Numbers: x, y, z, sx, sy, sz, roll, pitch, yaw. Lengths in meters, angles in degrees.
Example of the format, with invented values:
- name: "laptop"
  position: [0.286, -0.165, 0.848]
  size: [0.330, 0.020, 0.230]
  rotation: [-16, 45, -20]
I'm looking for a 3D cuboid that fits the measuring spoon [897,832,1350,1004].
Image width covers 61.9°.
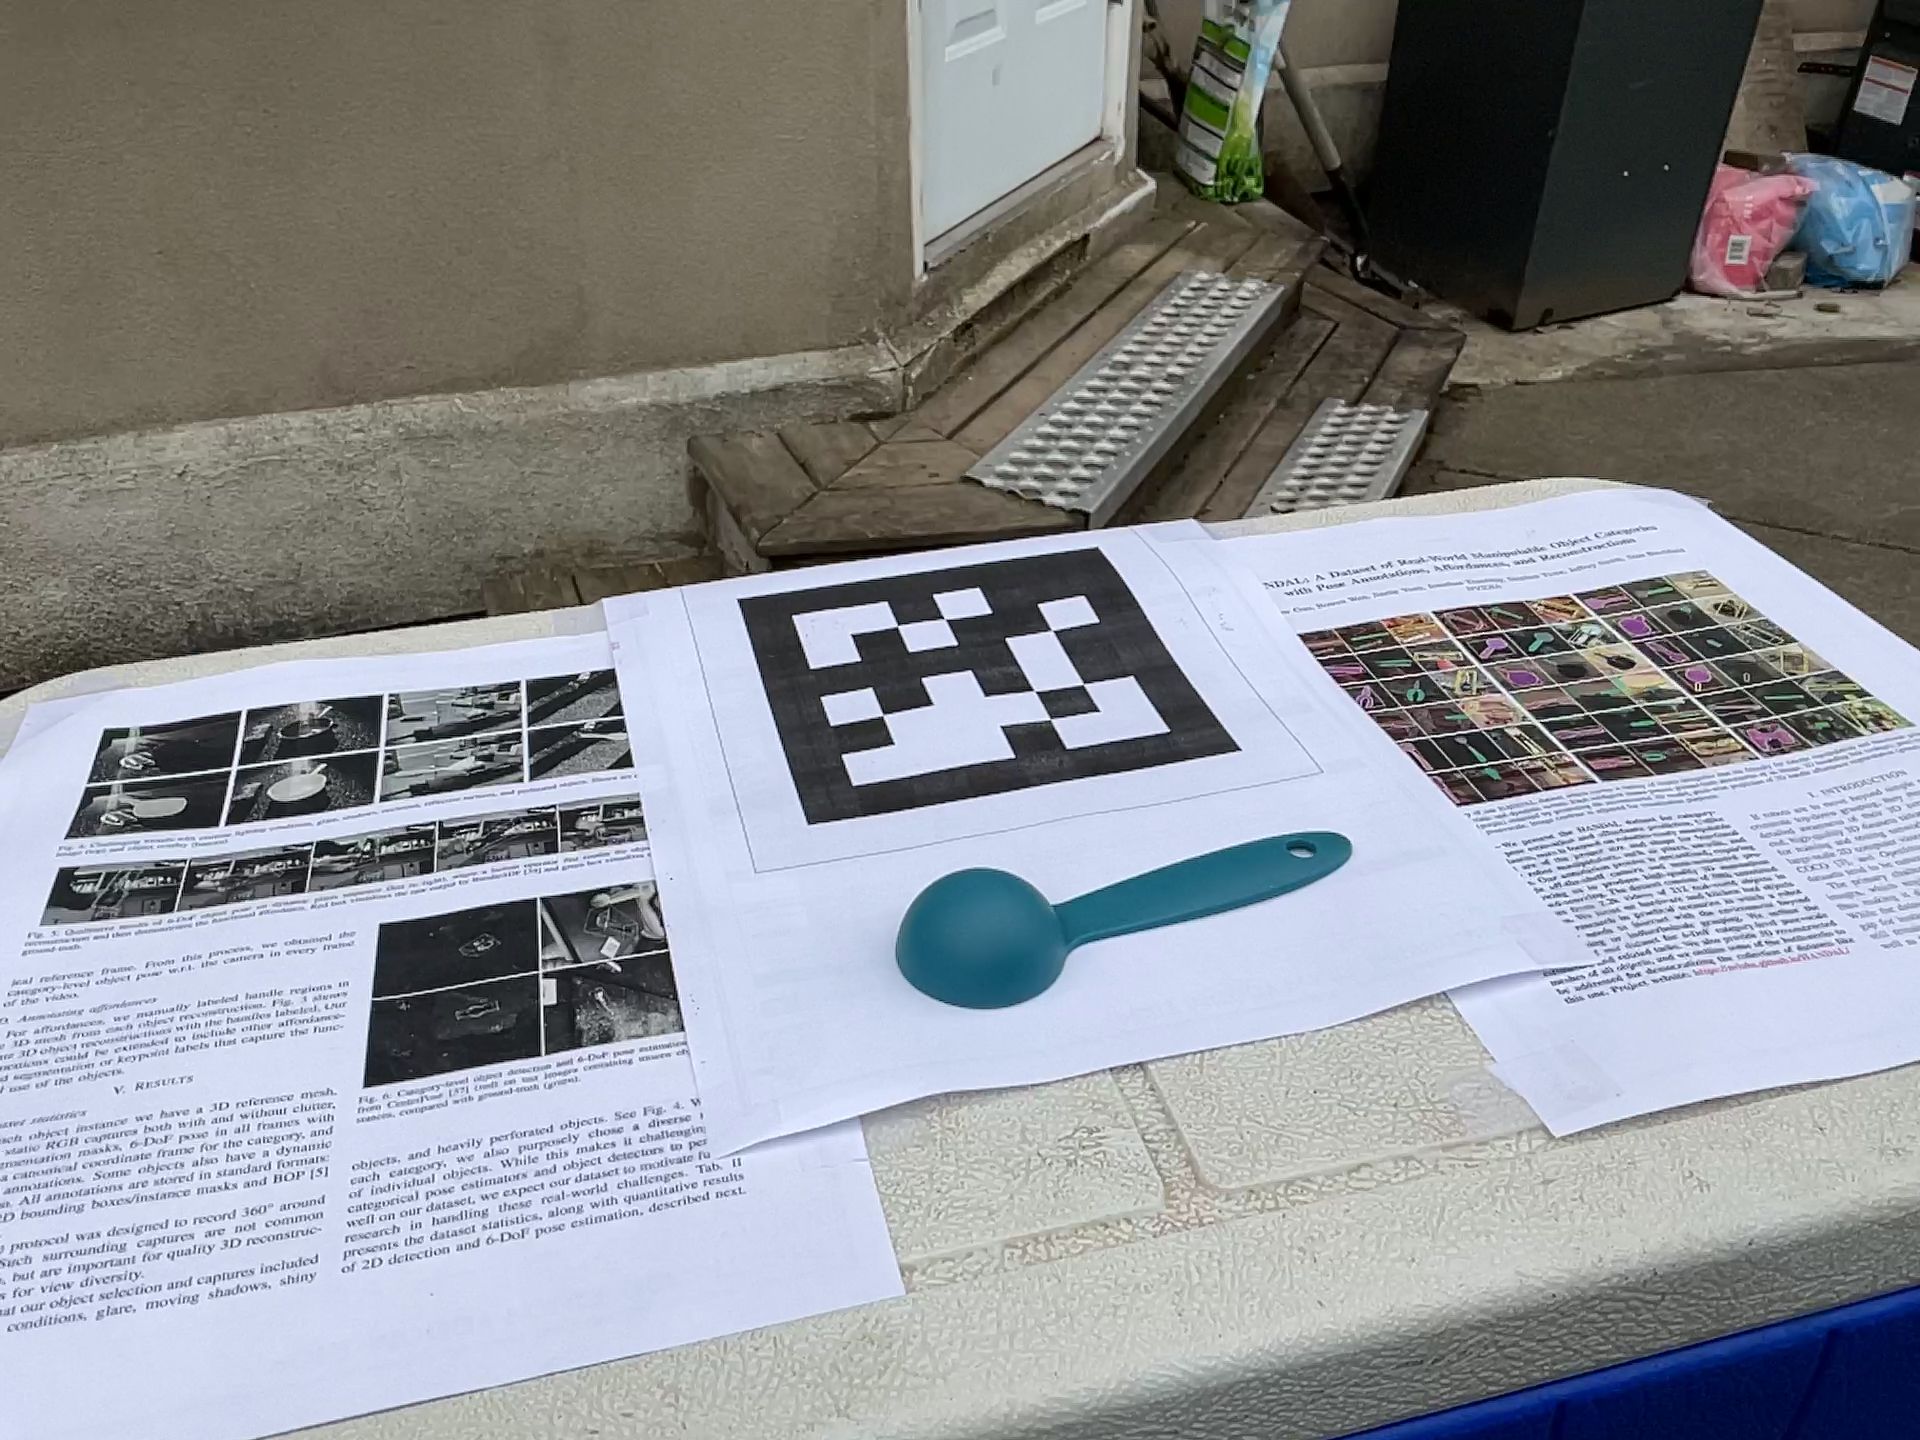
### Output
- name: "measuring spoon"
  position: [0.045, 0.040, 0.408]
  size: [0.128, 0.021, 0.042]
  rotation: [-14, 29, -19]
